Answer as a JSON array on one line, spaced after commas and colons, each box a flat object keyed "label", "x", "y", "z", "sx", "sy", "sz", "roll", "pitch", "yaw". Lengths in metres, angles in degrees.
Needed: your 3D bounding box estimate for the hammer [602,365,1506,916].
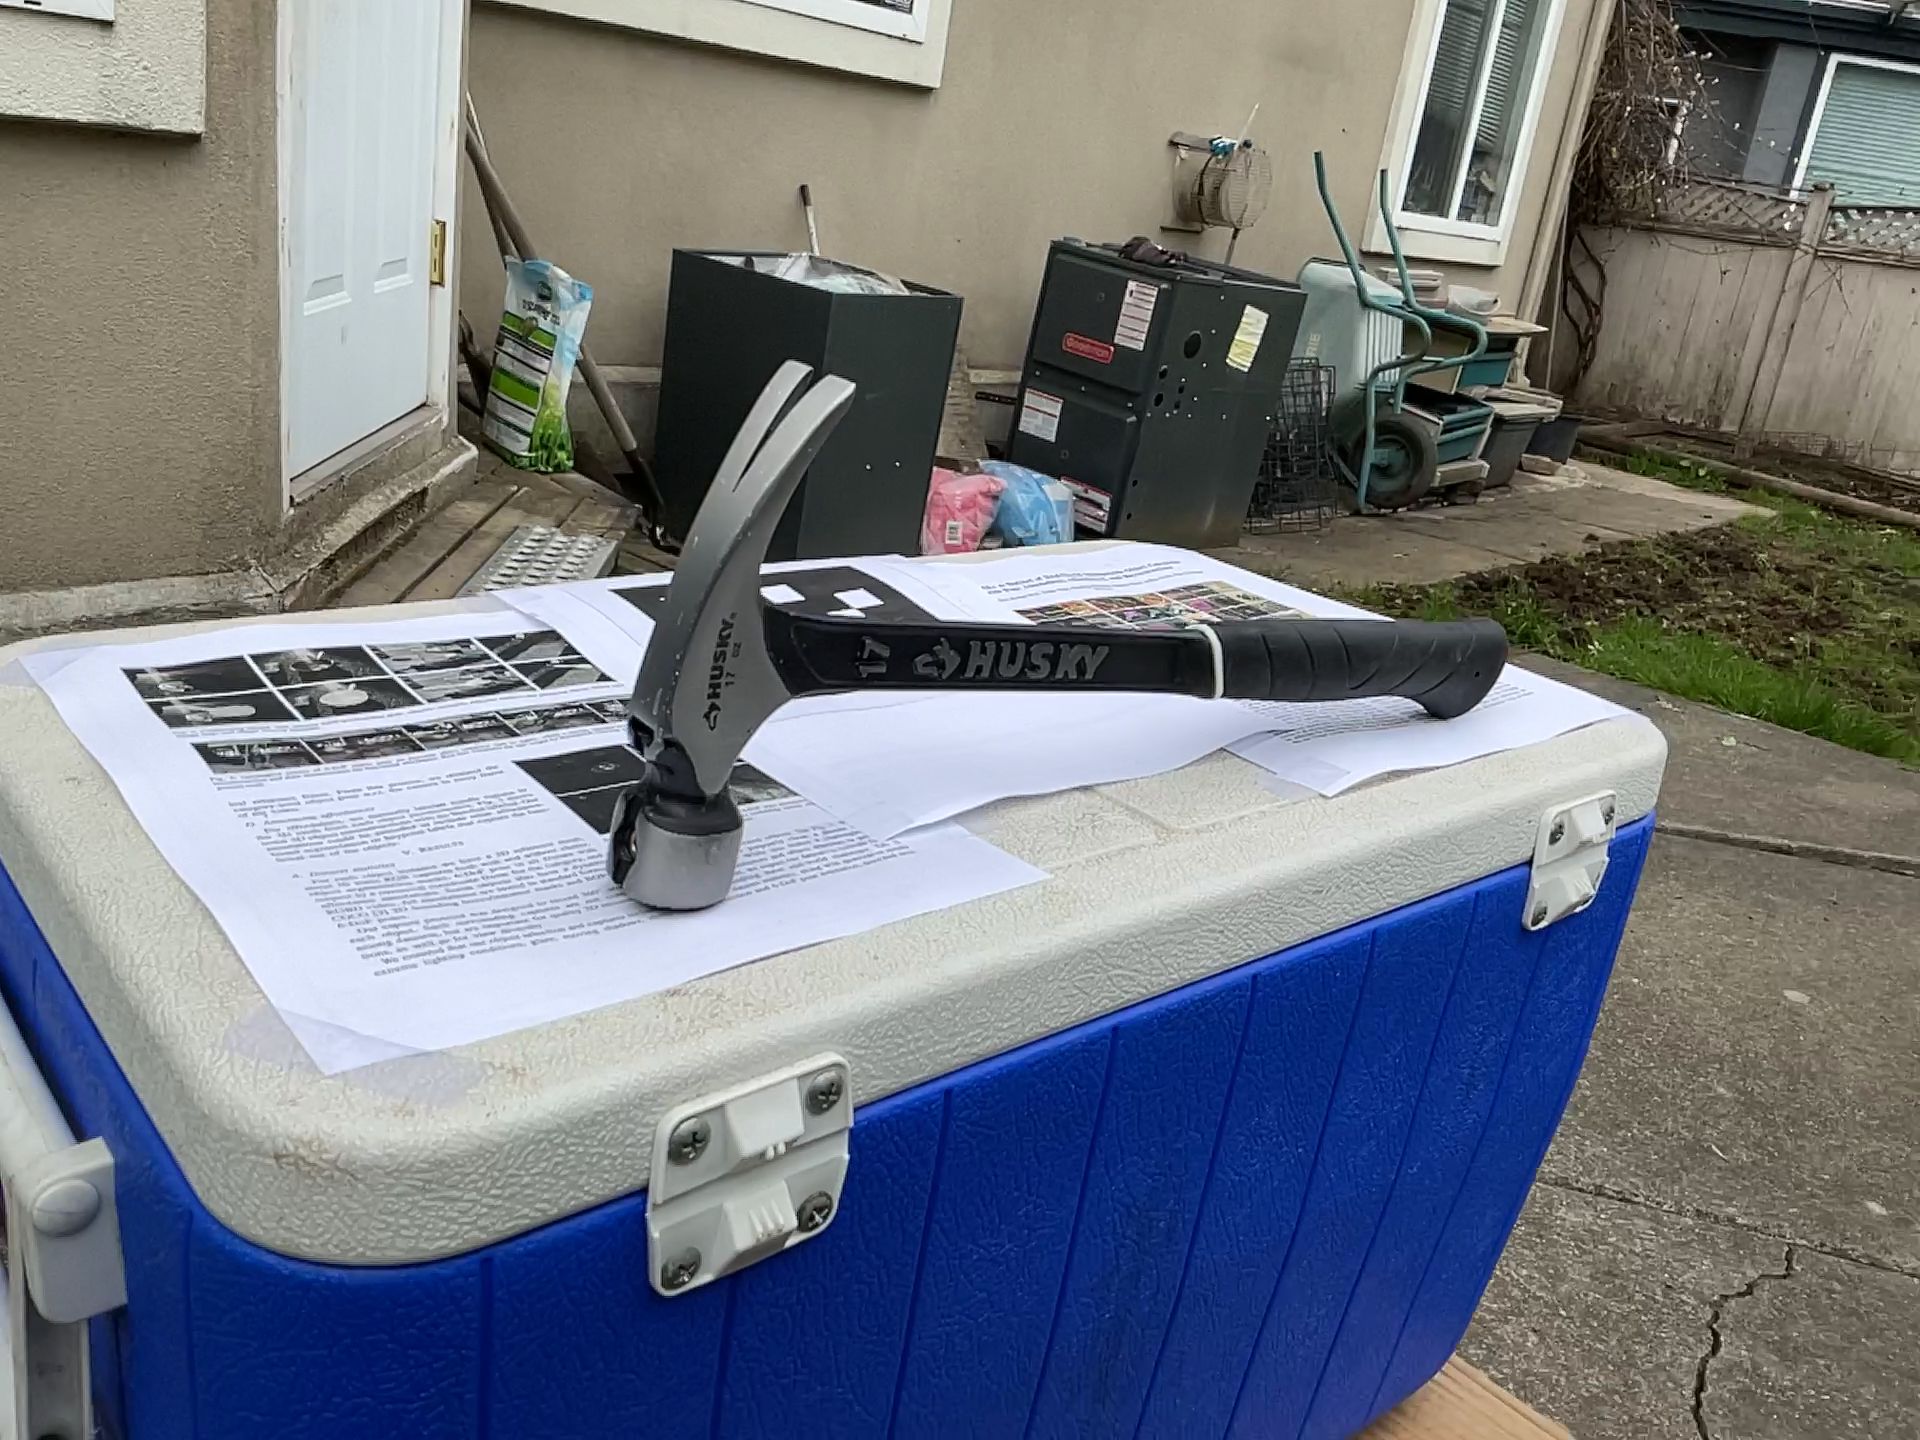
[{"label": "hammer", "x": 0.072, "y": -0.024, "z": 0.550, "sx": 0.408, "sy": 0.149, "sz": 0.036, "roll": -2, "pitch": 22, "yaw": -42}]
